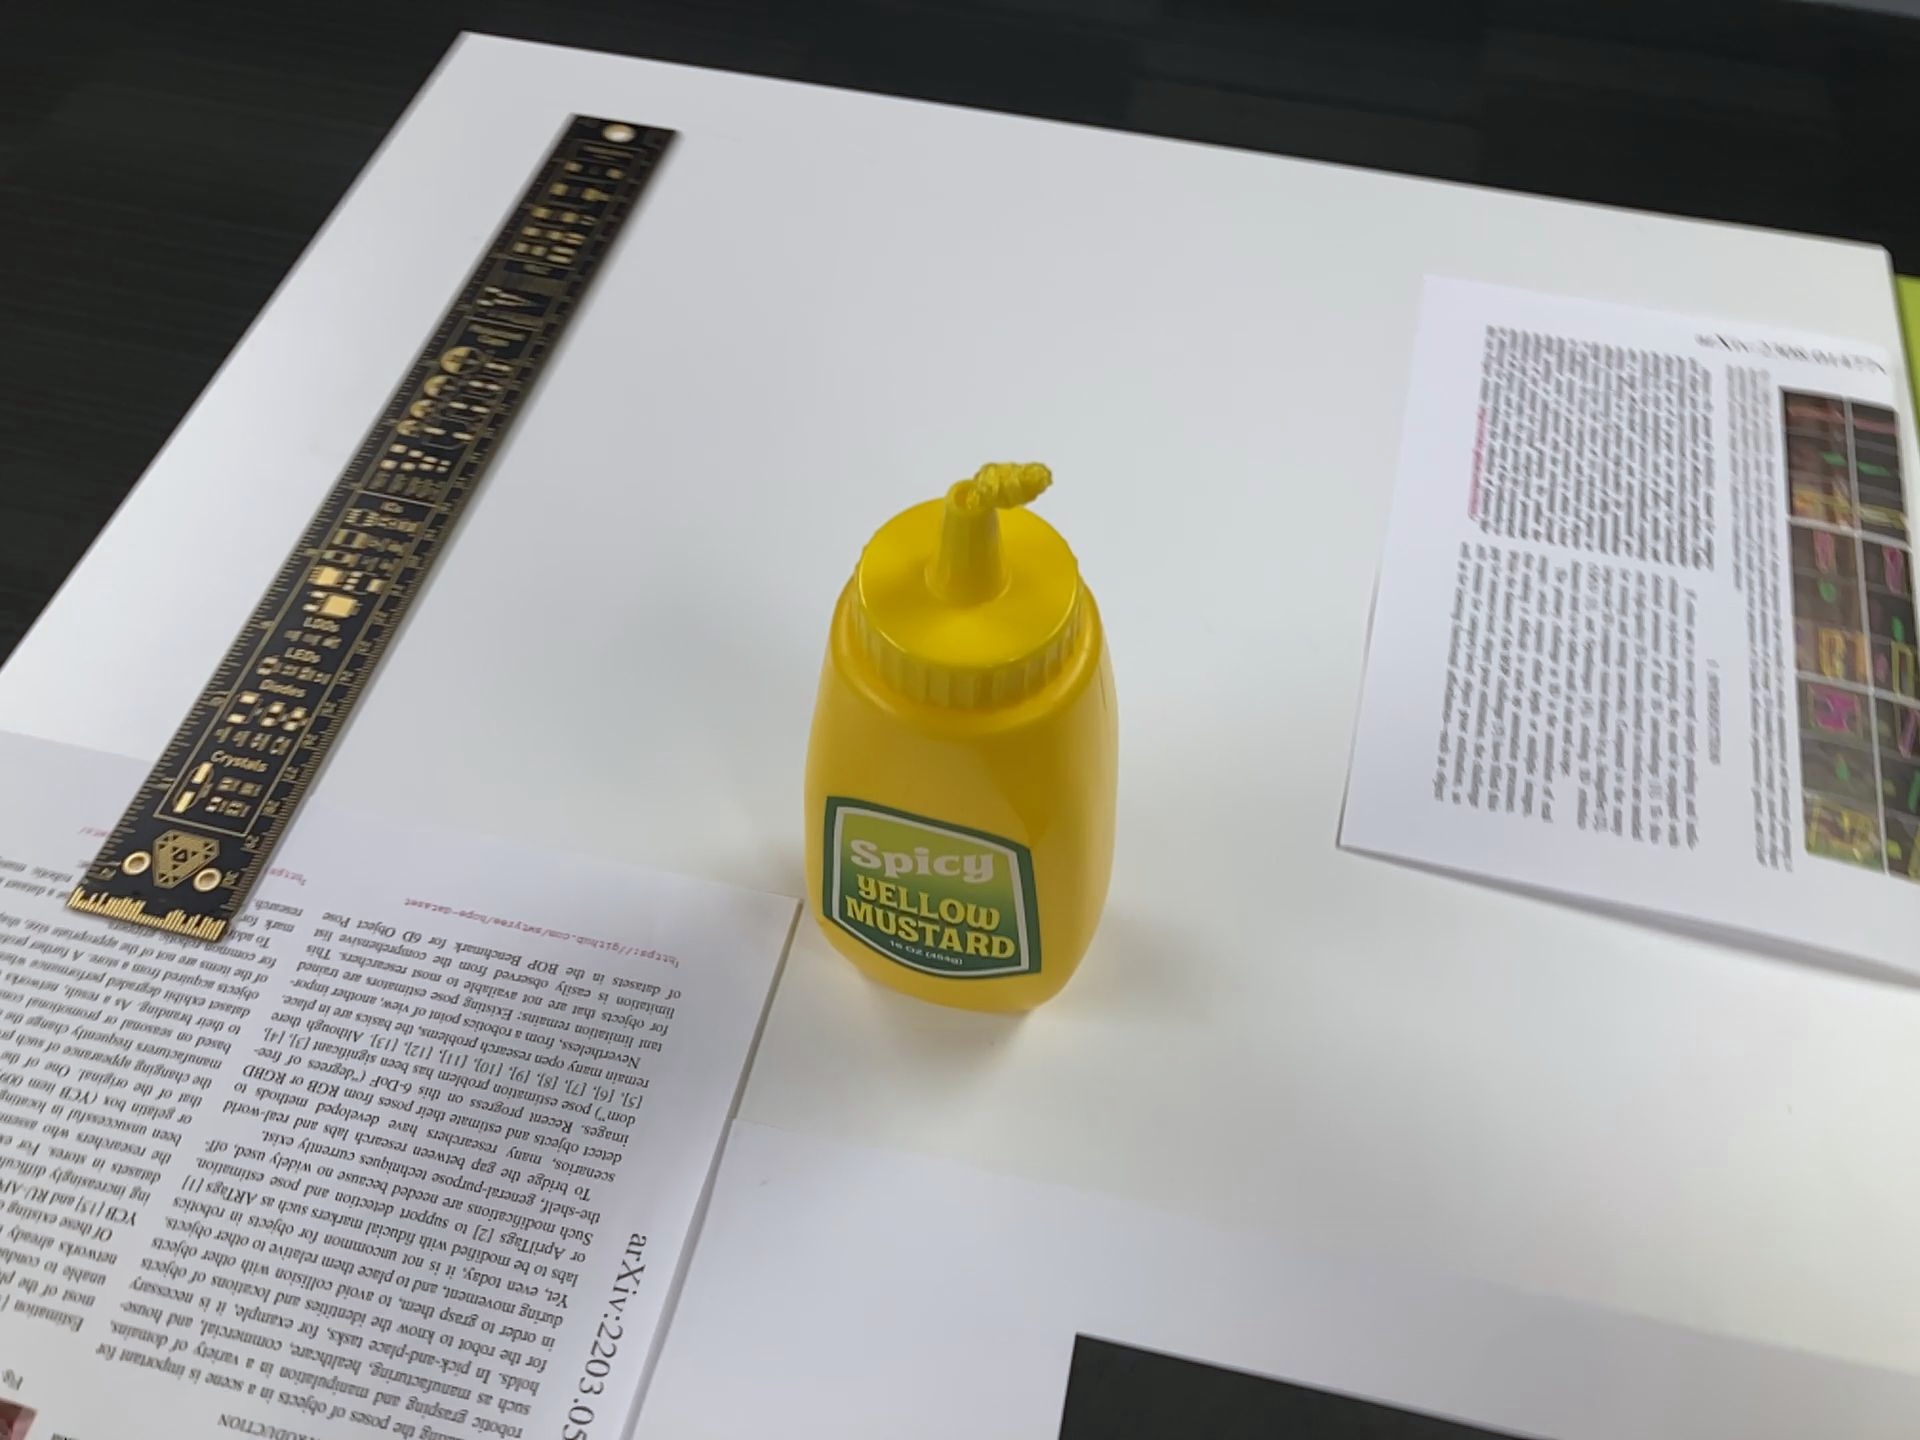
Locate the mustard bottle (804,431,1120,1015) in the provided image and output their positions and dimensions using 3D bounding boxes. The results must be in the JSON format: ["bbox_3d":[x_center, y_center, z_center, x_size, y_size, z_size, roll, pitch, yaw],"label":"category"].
[{"bbox_3d":[0.000,0.004,0.307,0.065,0.160,0.049,14,57,10],"label":"mustard bottle"}]
